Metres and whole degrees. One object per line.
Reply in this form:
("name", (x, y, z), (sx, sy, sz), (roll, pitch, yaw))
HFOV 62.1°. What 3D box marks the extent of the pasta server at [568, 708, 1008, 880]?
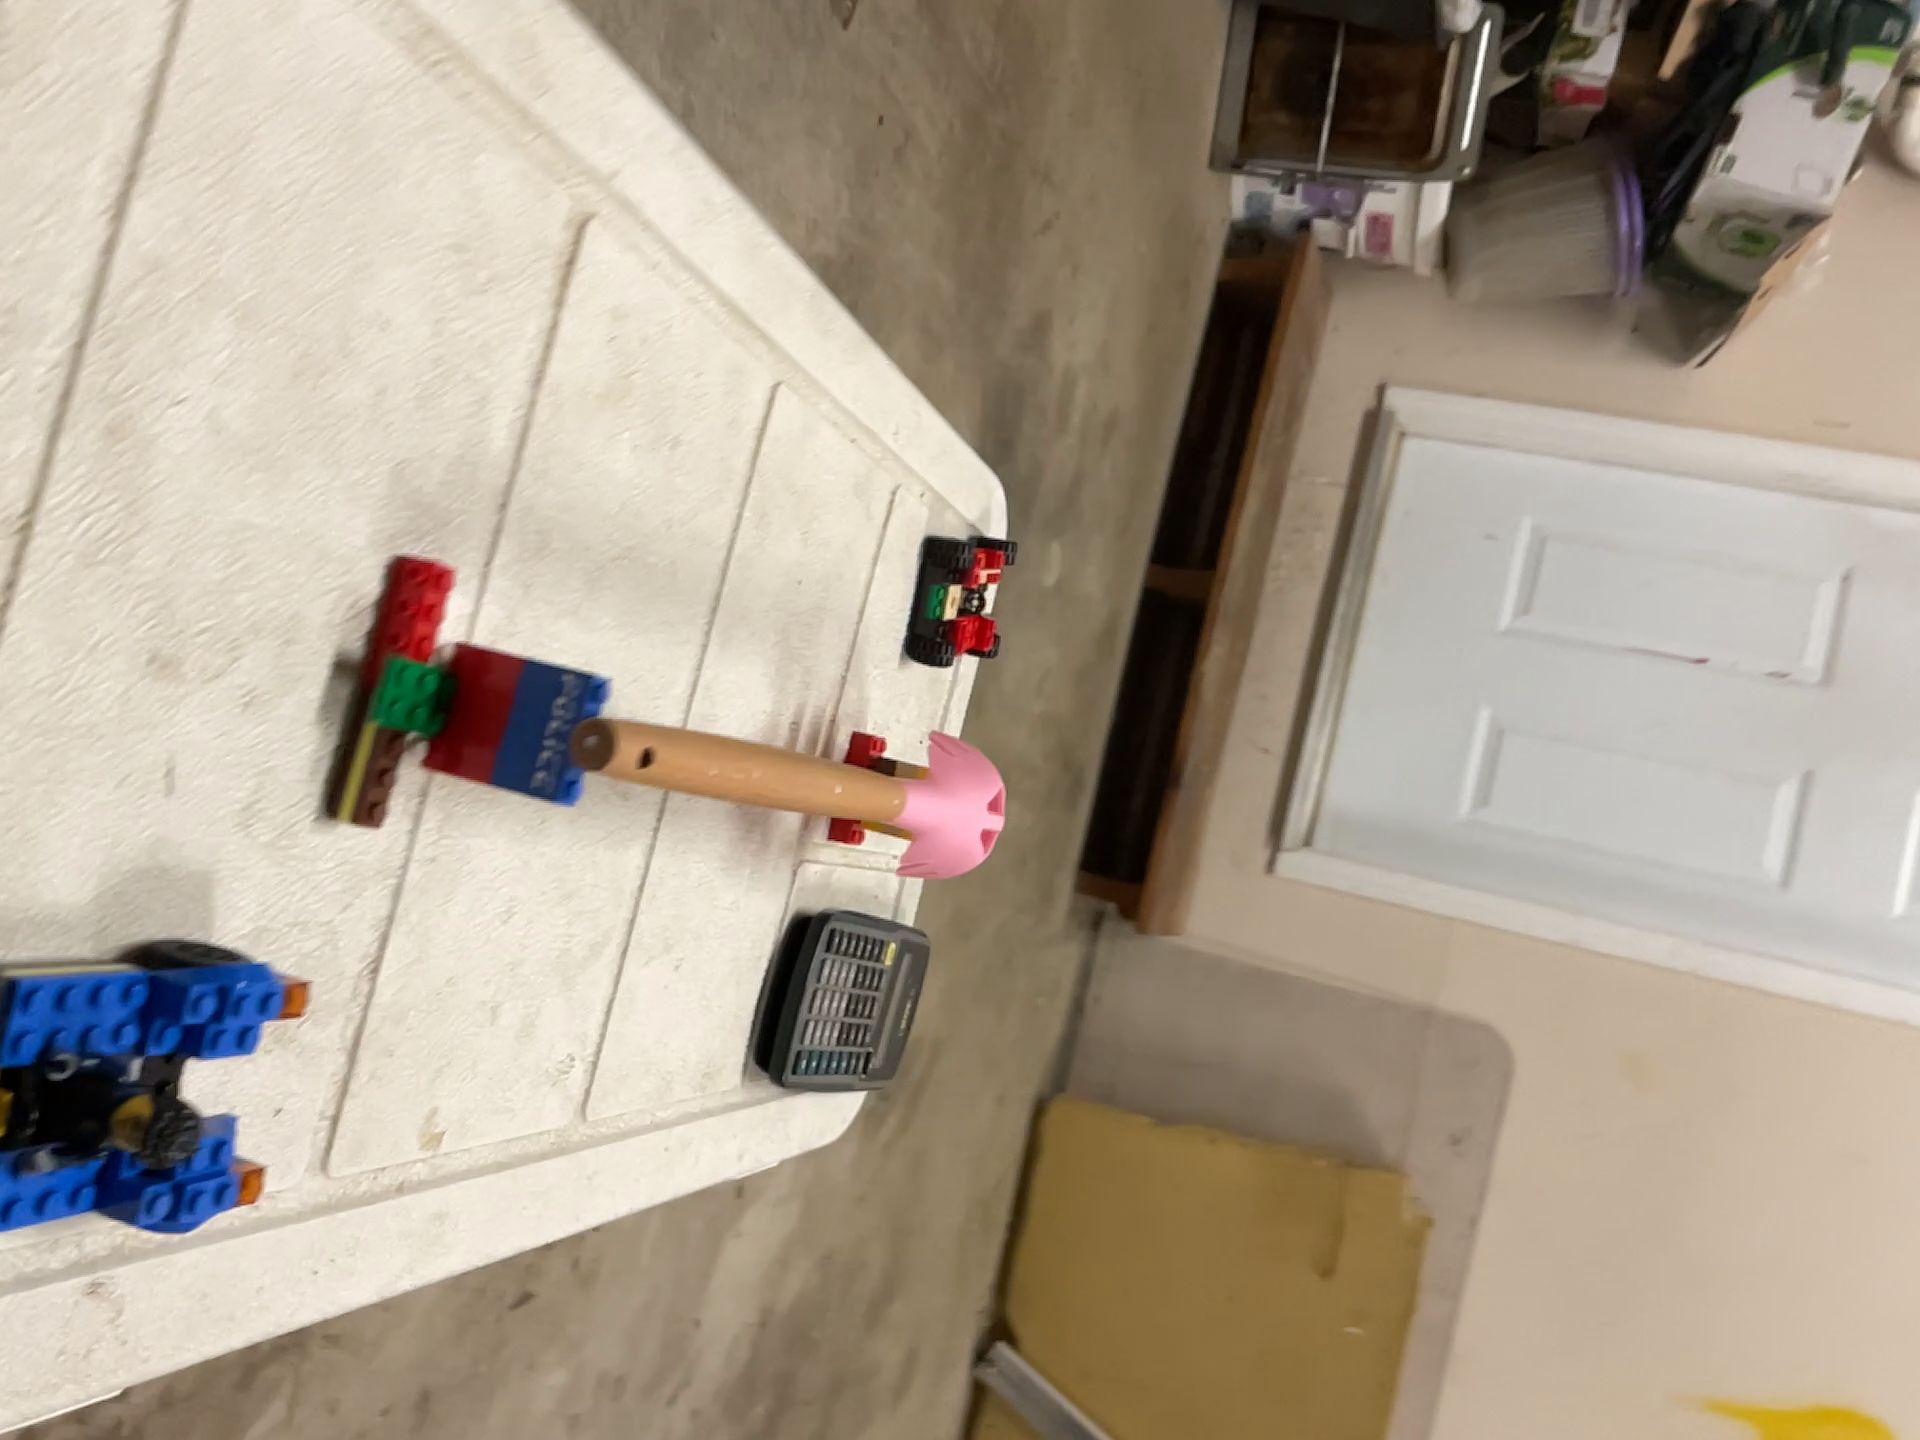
("pasta server", (-0.041, 0.022, 0.516), (0.316, 0.040, 0.060), (21, 84, -70))
